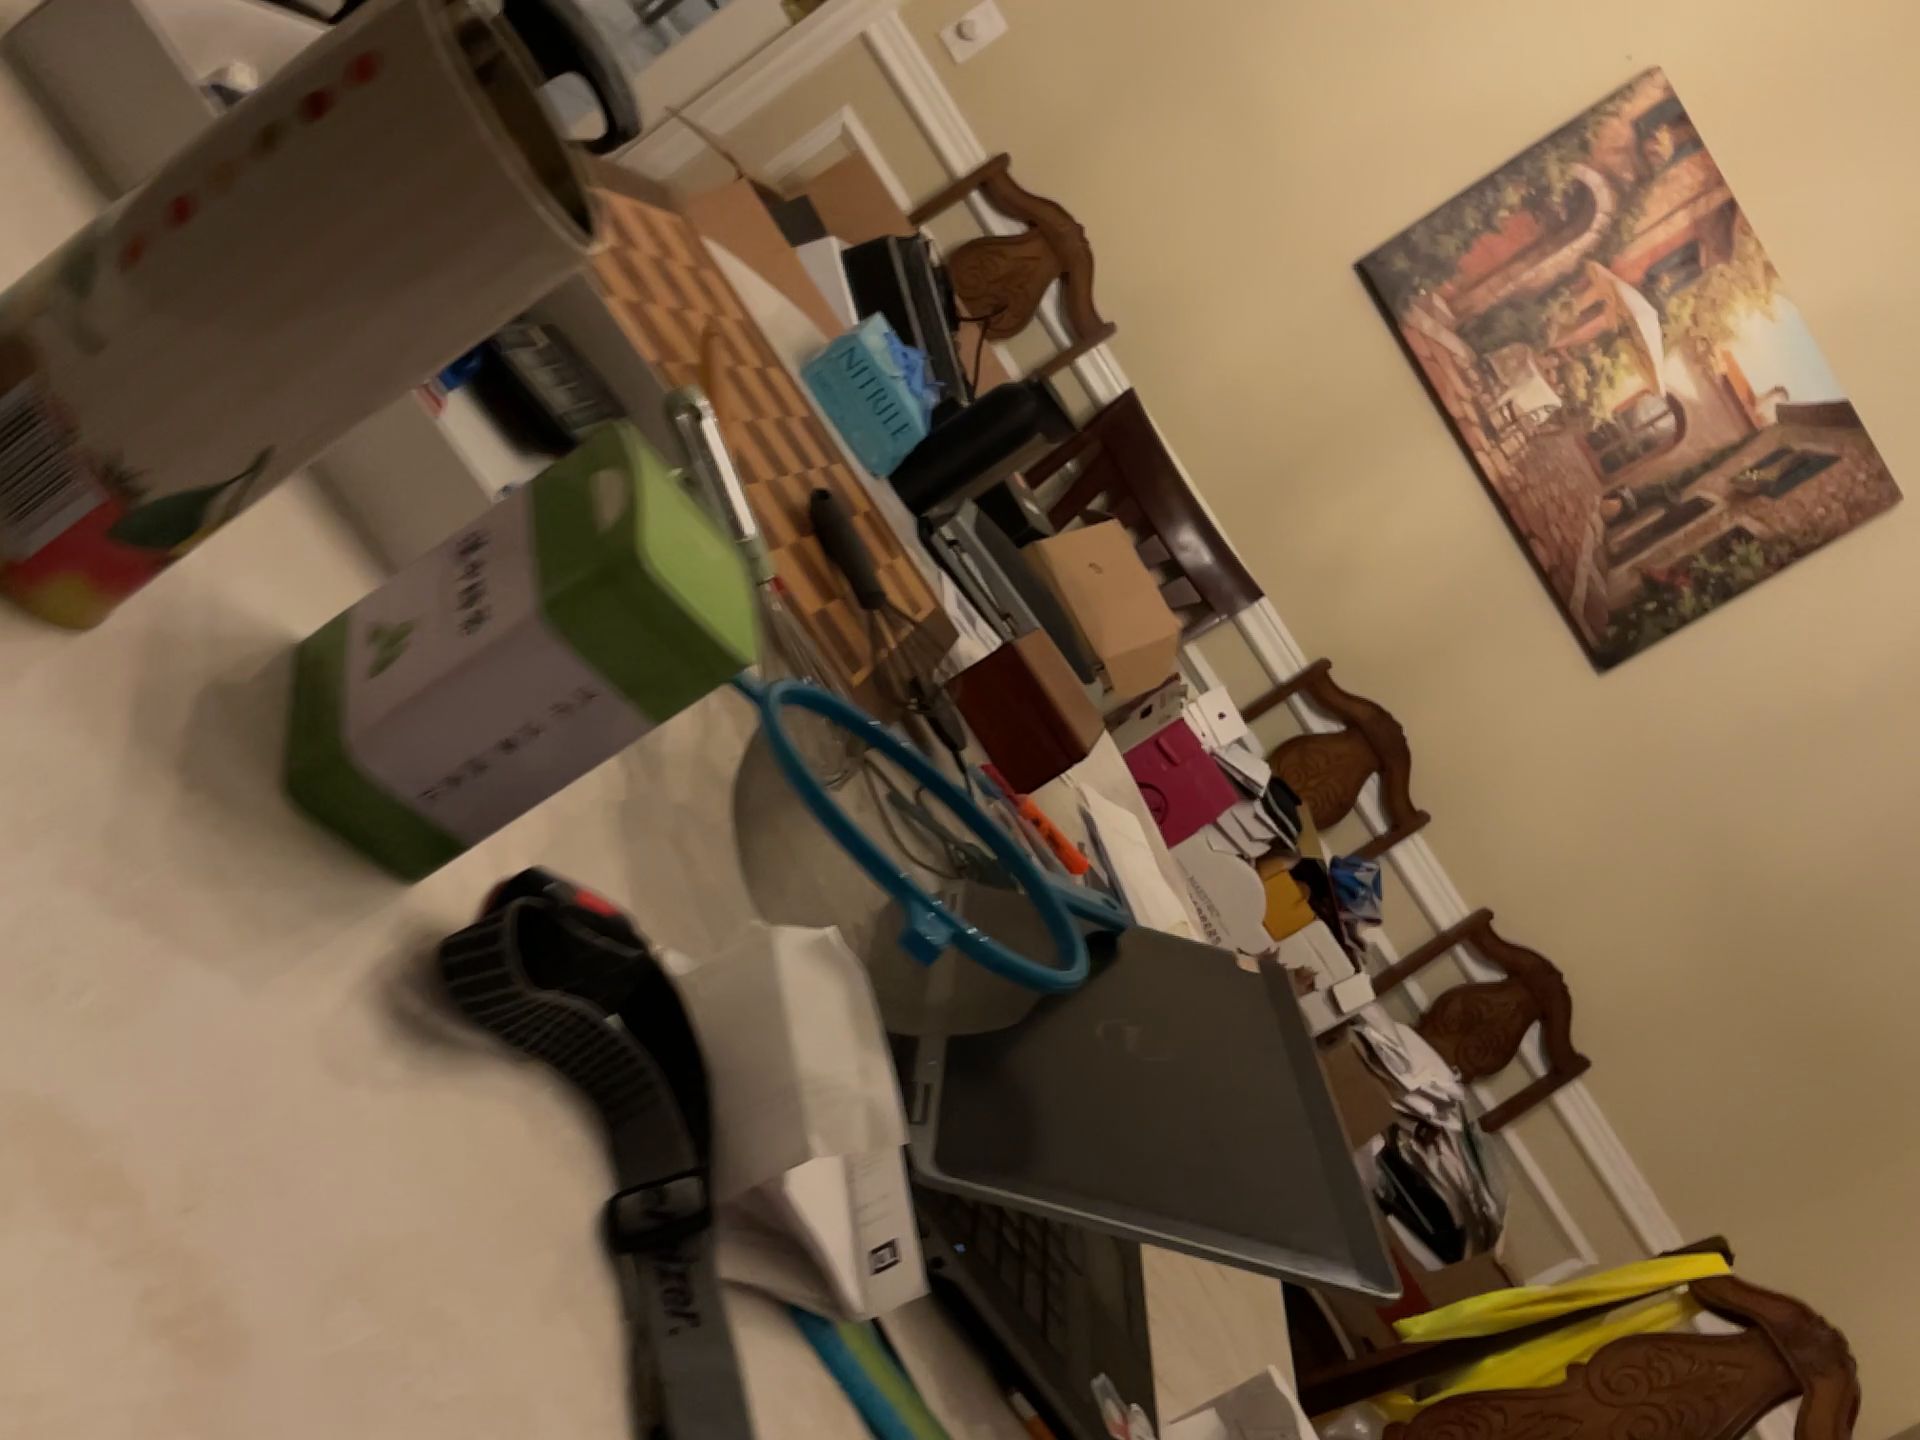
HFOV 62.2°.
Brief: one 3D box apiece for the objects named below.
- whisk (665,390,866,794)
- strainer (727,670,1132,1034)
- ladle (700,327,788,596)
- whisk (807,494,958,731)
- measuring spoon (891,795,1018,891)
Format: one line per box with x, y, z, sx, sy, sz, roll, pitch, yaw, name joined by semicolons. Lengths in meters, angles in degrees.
-0.112;-0.068;0.902;0.059;0.057;0.246;8;-59;66;whisk
-0.010;0.101;0.831;0.211;0.095;0.340;49;11;33;strainer
-0.159;-0.178;1.065;0.069;0.031;0.316;23;35;-31;ladle
-0.064;-0.086;1.190;0.239;0.055;0.055;60;-3;33;whisk
-0.006;0.091;1.101;0.128;0.021;0.042;37;13;-29;measuring spoon
